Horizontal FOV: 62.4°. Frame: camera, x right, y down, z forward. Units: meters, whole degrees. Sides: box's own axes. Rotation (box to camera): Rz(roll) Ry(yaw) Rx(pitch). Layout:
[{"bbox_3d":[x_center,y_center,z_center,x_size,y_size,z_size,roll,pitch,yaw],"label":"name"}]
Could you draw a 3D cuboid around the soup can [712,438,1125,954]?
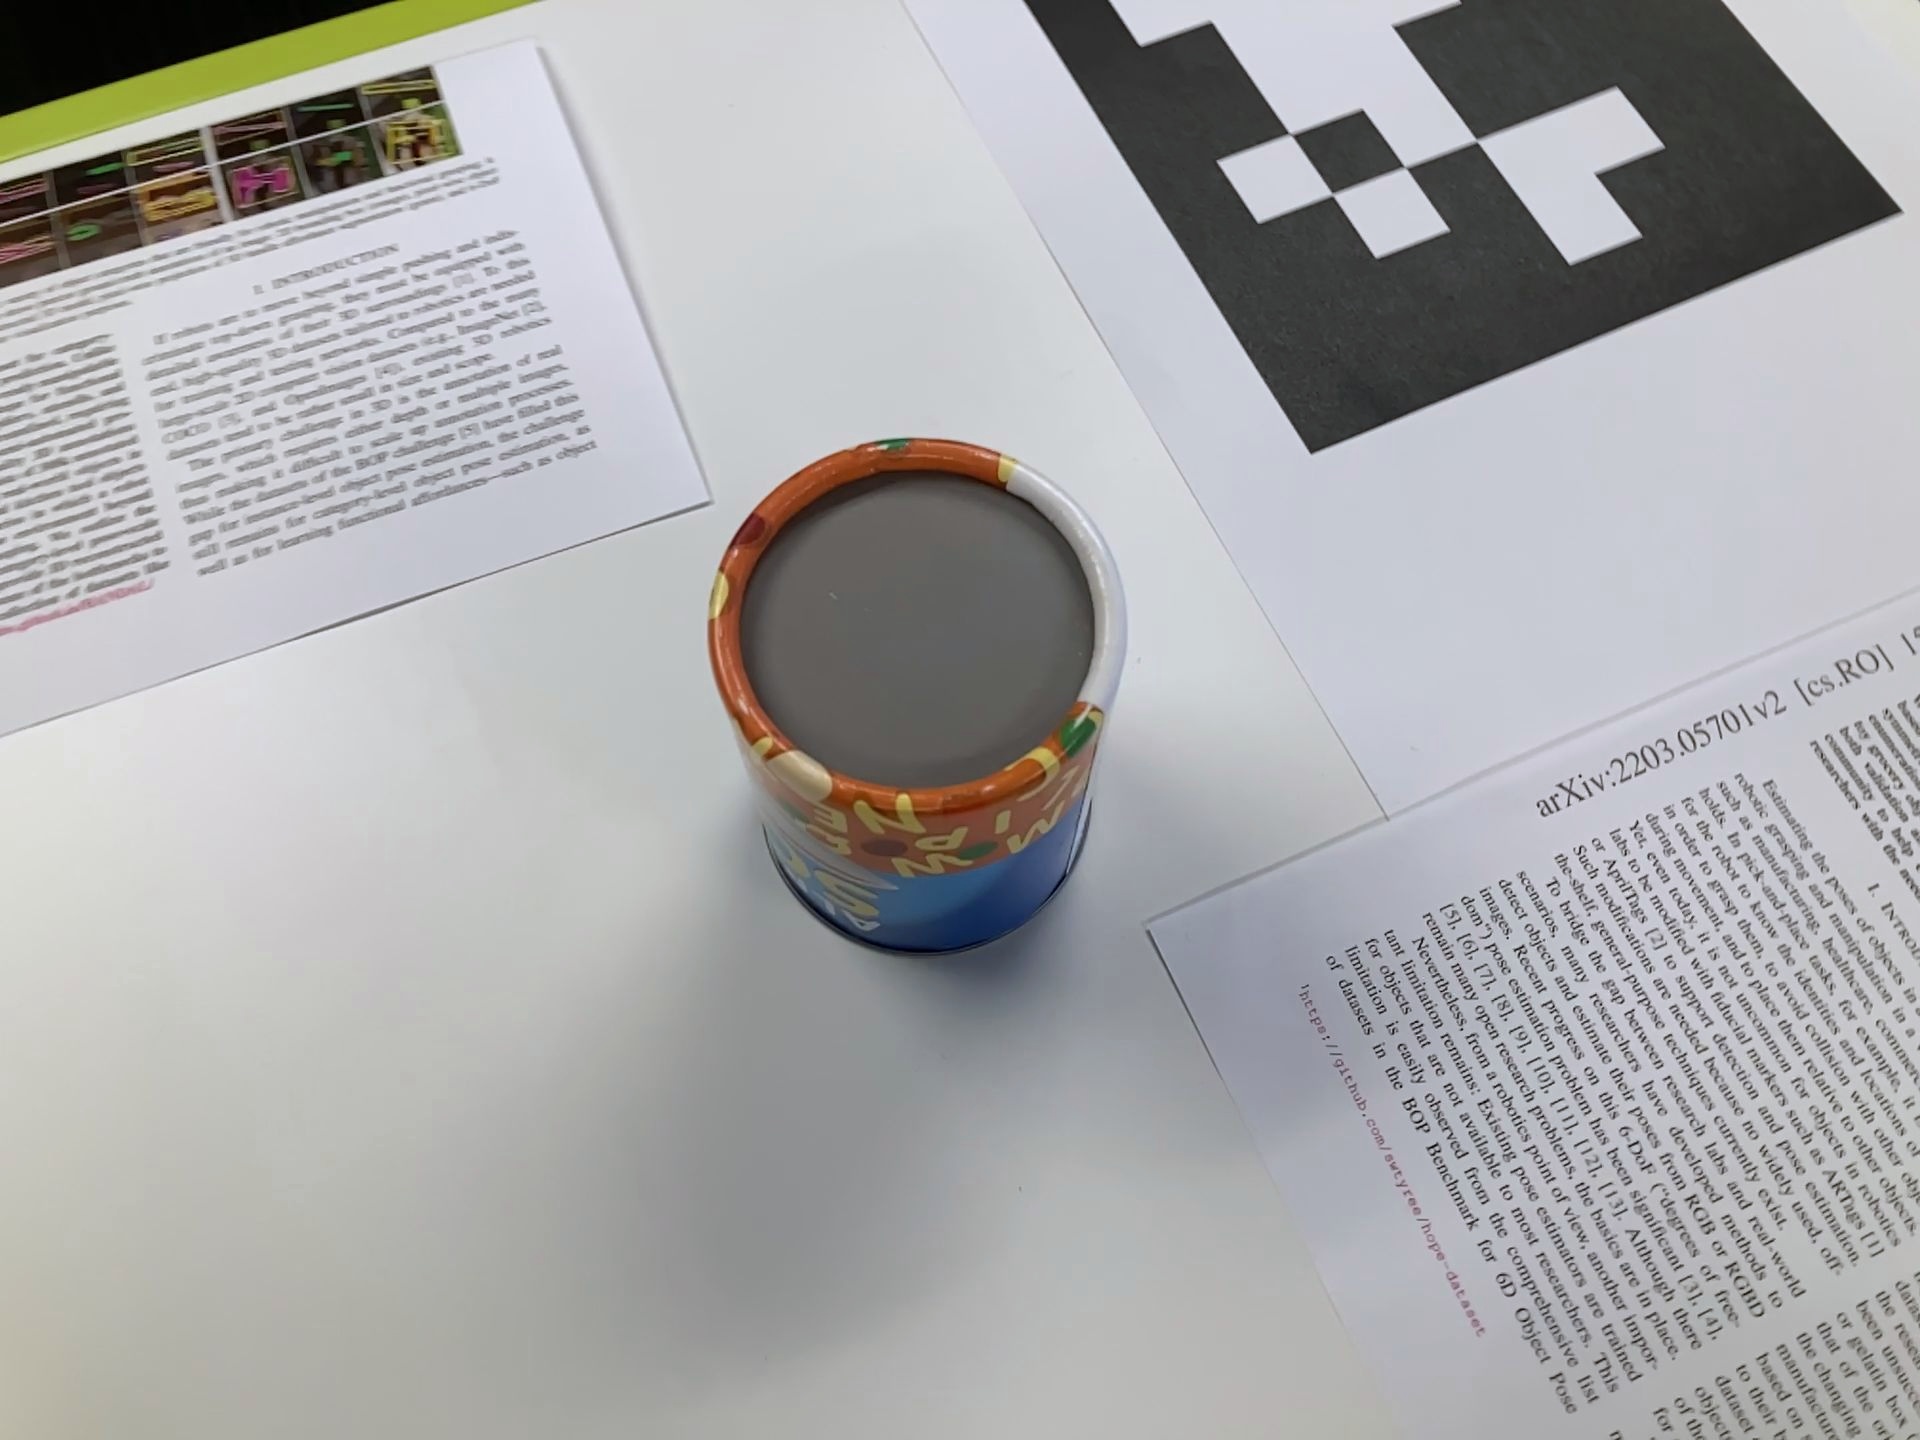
[{"bbox_3d":[-0.009,0.000,0.284,0.071,0.084,0.071,0,67,0],"label":"soup can"}]
